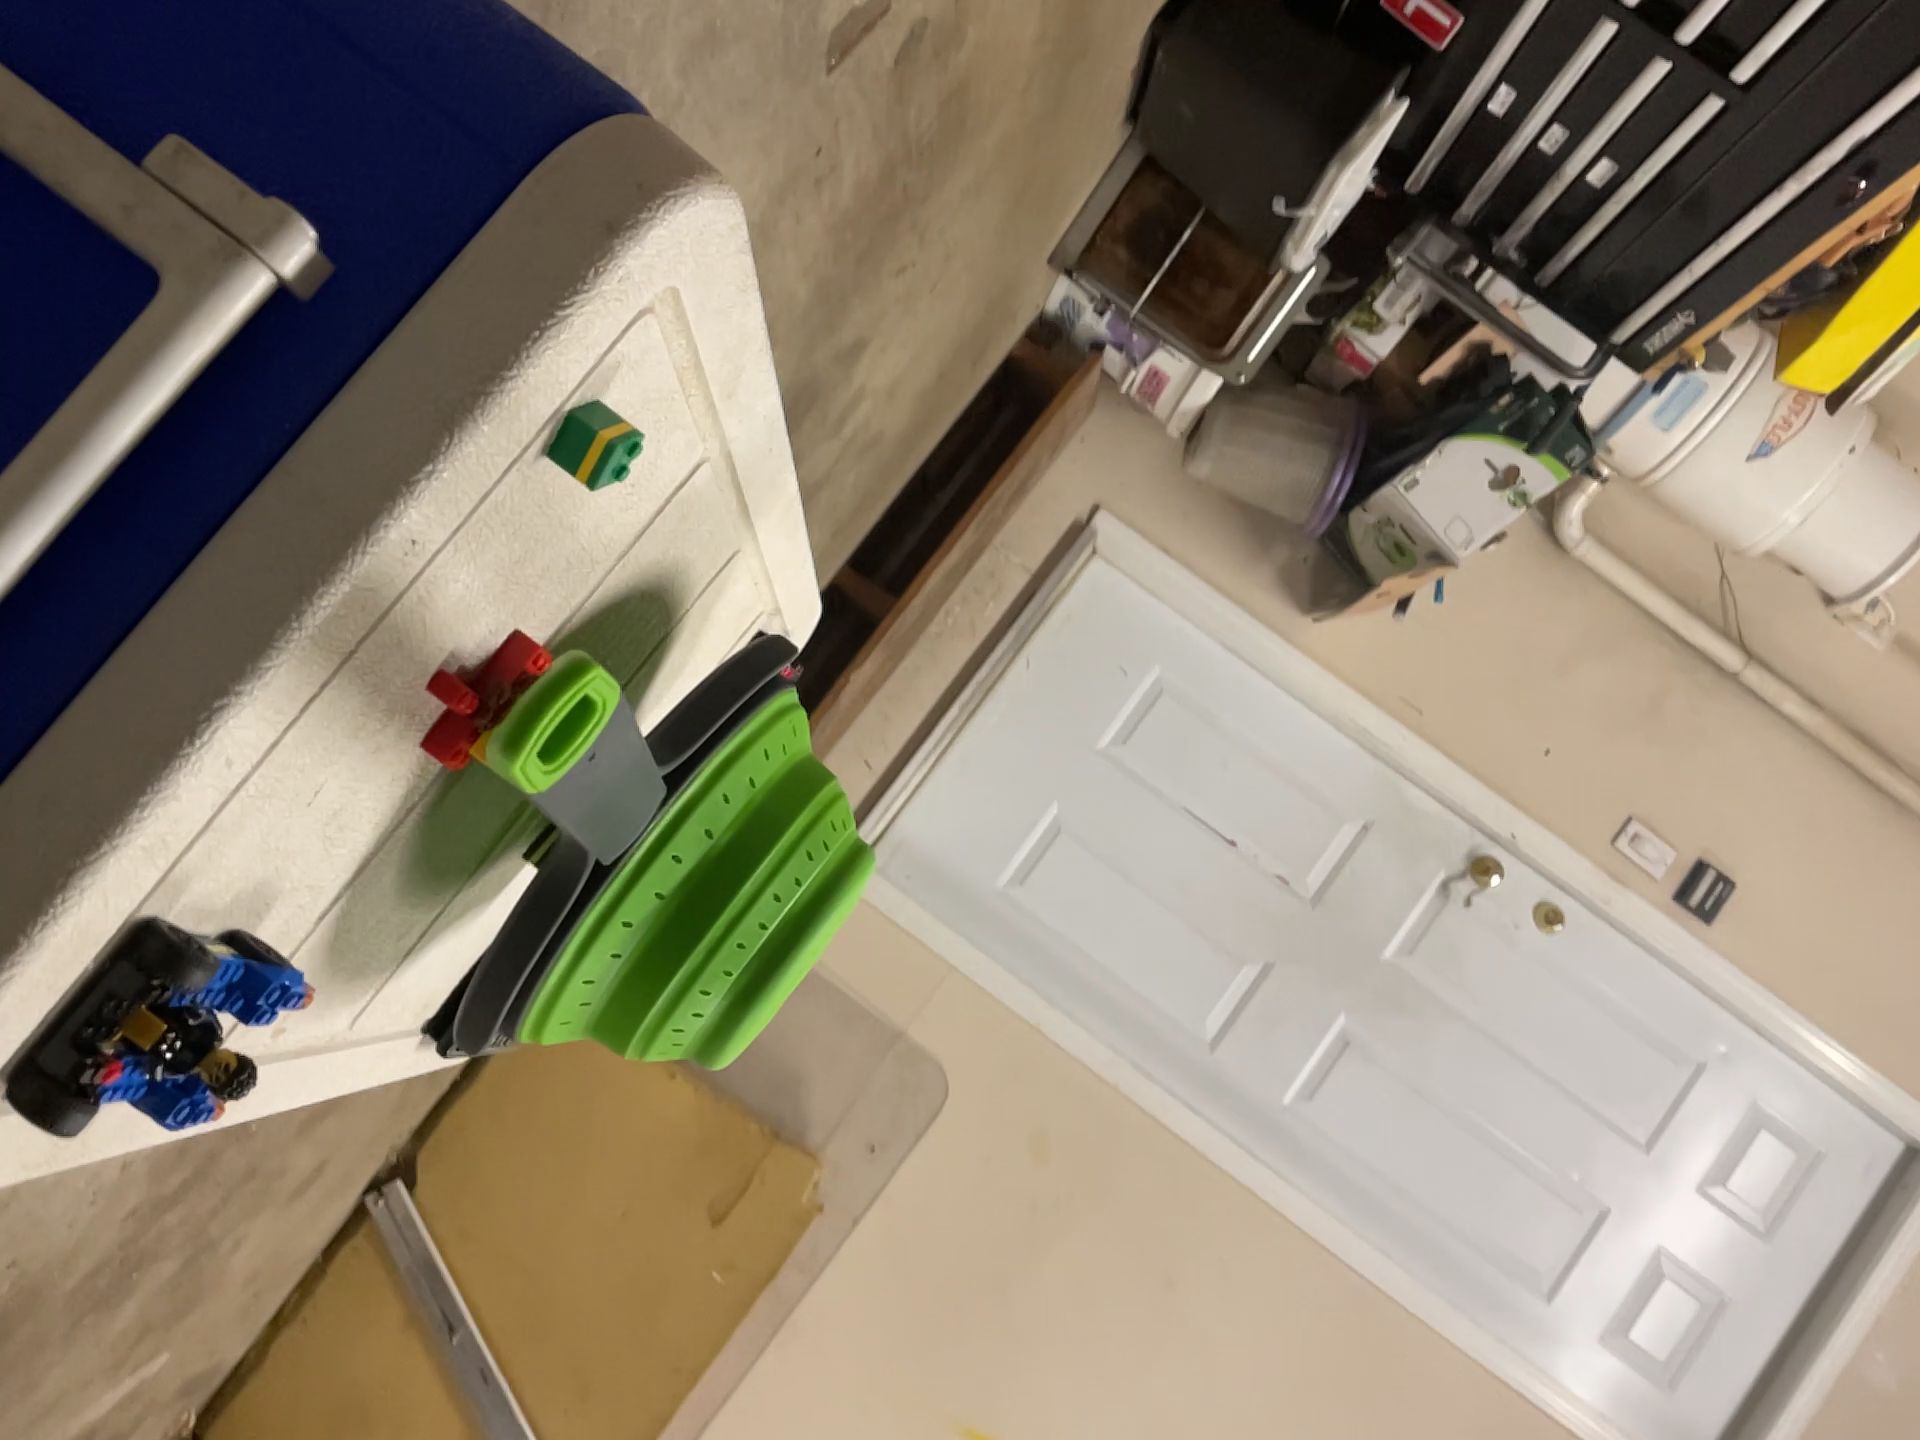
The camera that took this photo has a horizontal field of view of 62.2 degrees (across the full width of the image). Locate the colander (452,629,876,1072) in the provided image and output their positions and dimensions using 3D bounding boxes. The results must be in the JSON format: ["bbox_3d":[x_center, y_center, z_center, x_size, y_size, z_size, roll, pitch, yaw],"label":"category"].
[{"bbox_3d":[-0.091,0.055,0.559,0.205,0.094,0.396,-53,178,-13],"label":"colander"}]
